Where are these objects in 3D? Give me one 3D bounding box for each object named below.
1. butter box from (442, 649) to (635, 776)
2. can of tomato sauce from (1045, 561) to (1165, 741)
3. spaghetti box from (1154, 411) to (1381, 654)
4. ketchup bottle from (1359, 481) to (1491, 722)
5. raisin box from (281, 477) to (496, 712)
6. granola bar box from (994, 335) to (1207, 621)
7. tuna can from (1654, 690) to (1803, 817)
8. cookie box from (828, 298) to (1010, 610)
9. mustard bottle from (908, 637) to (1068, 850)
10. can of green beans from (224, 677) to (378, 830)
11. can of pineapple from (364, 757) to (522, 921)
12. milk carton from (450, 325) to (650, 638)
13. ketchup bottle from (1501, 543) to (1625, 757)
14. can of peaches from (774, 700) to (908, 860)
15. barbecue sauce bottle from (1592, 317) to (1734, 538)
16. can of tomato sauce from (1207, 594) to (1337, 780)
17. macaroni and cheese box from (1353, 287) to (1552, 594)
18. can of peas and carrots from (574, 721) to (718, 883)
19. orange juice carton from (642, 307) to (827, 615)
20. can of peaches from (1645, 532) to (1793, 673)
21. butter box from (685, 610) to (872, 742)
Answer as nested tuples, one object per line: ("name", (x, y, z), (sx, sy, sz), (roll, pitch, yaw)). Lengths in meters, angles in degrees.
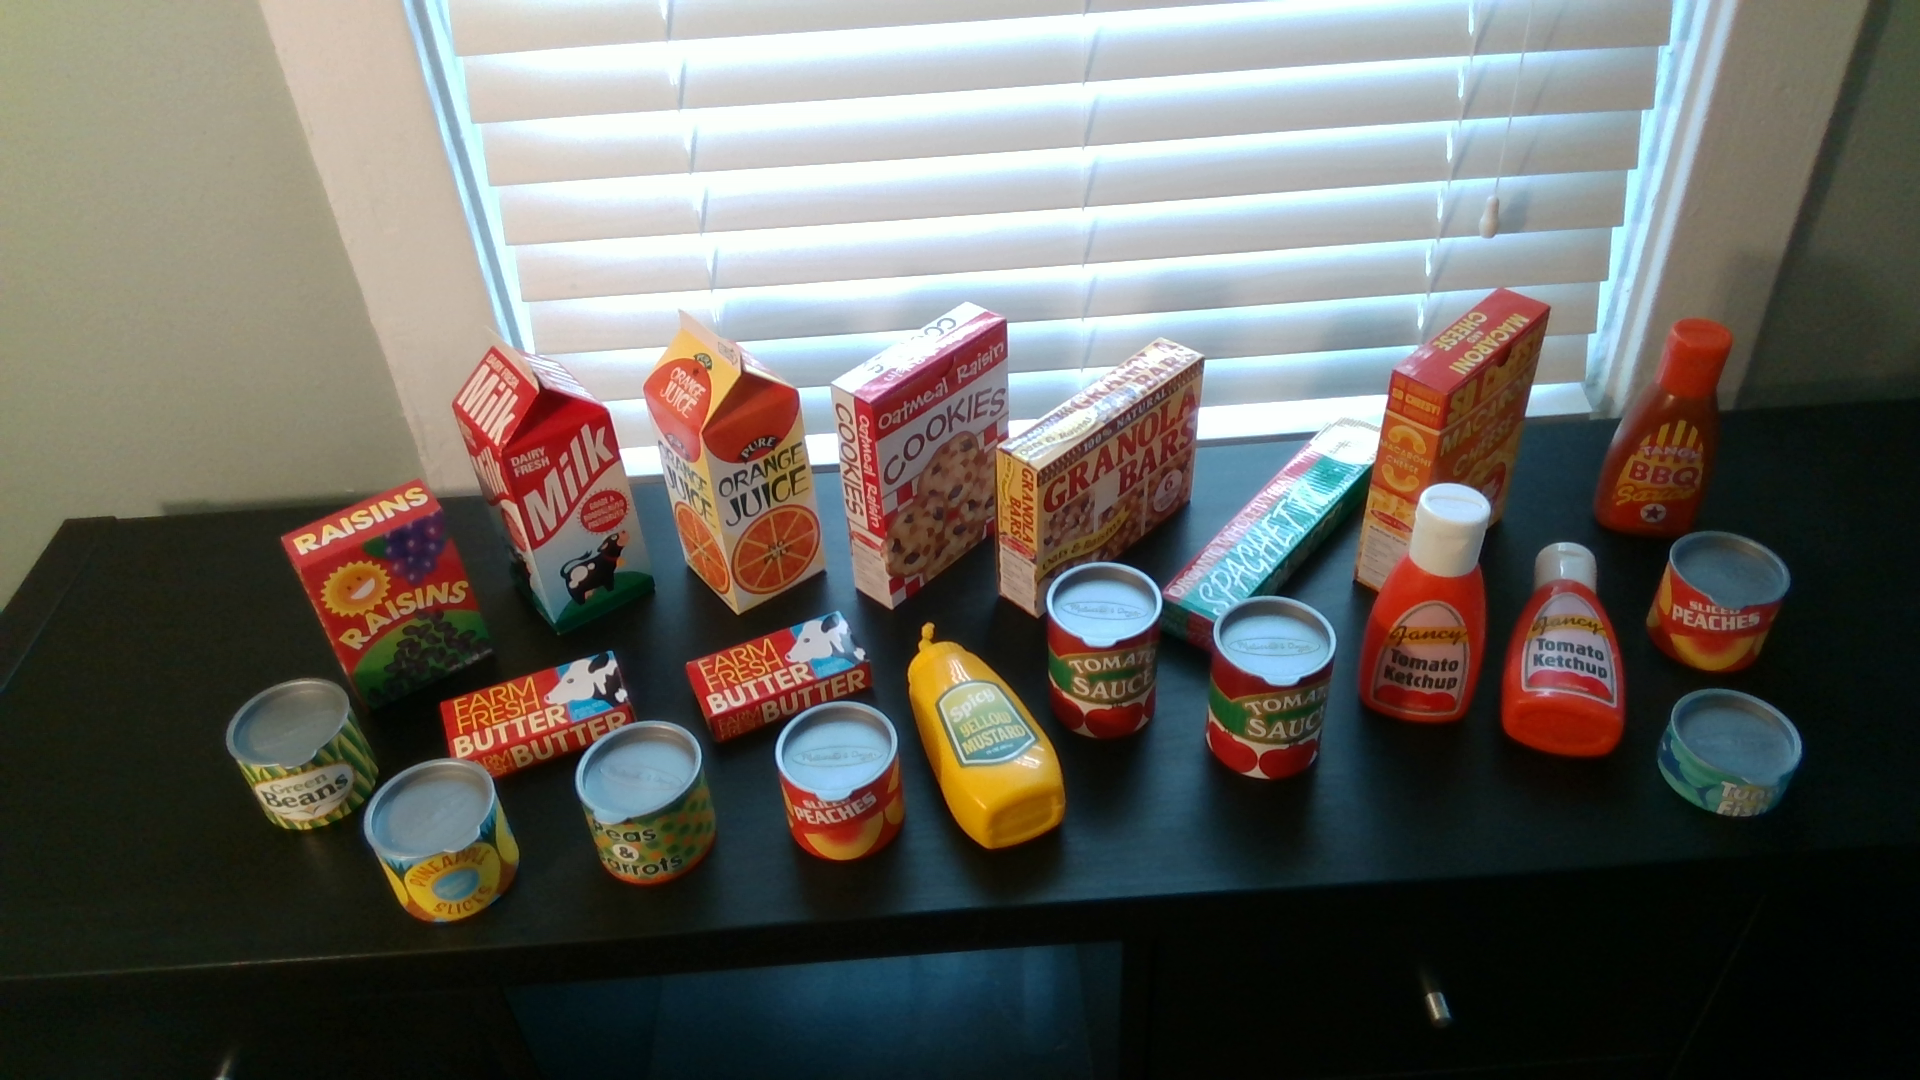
("butter box", (-0.250, 0.104, 0.824), (0.104, 0.024, 0.053), (-18, 41, -17))
("can of tomato sauce", (0.083, 0.066, 0.799), (0.071, 0.082, 0.071), (-2, 39, 1))
("spaghetti box", (0.216, -0.010, 0.927), (0.050, 0.028, 0.251), (25, 48, 30))
("ketchup bottle", (0.264, 0.036, 0.777), (0.065, 0.148, 0.044), (8, 40, 14))
("raisin box", (-0.341, 0.034, 0.838), (0.086, 0.122, 0.040), (-26, 46, -24))
("granola bar box", (0.090, -0.042, 0.896), (0.039, 0.123, 0.166), (31, 50, 32))
("tuna can", (0.419, 0.118, 0.758), (0.071, 0.032, 0.071), (-1, 39, 1))
("cookie box", (-0.020, -0.054, 0.888), (0.040, 0.166, 0.123), (29, 50, 31))
("mustard bottle", (0.004, 0.103, 0.791), (0.065, 0.048, 0.161), (-16, 40, -17))
("can of green beans", (-0.373, 0.122, 0.790), (0.071, 0.057, 0.071), (-2, 40, 2))
("can of pineapple", (-0.272, 0.160, 0.736), (0.071, 0.057, 0.071), (-3, 40, 3))
("milk carton", (-0.258, -0.040, 0.868), (0.074, 0.189, 0.072), (-29, 46, -28))
("ketchup bottle", (0.358, 0.061, 0.824), (0.065, 0.043, 0.150), (11, 41, 16))
("can of peaches", (-0.064, 0.132, 0.751), (0.071, 0.057, 0.071), (-4, 40, 3))
("barbecue sauce bottle", (0.454, -0.071, 0.889), (0.065, 0.147, 0.044), (7, 41, 12))
("can of tomato sauce", (0.173, 0.084, 0.775), (0.071, 0.082, 0.071), (-3, 40, 3))
("macaroni and cheese box", (0.308, -0.058, 0.872), (0.124, 0.165, 0.040), (-35, 50, -30))
("can of peas and carrots", (-0.168, 0.143, 0.746), (0.071, 0.058, 0.071), (-3, 39, 3))
("orange juice carton", (-0.142, -0.053, 0.878), (0.073, 0.191, 0.072), (-29, 48, -26))
("can of peaches", (0.452, 0.039, 0.832), (0.071, 0.057, 0.071), (-1, 40, 1))
("butter box", (-0.110, 0.082, 0.846), (0.104, 0.024, 0.053), (-19, 41, -18))
